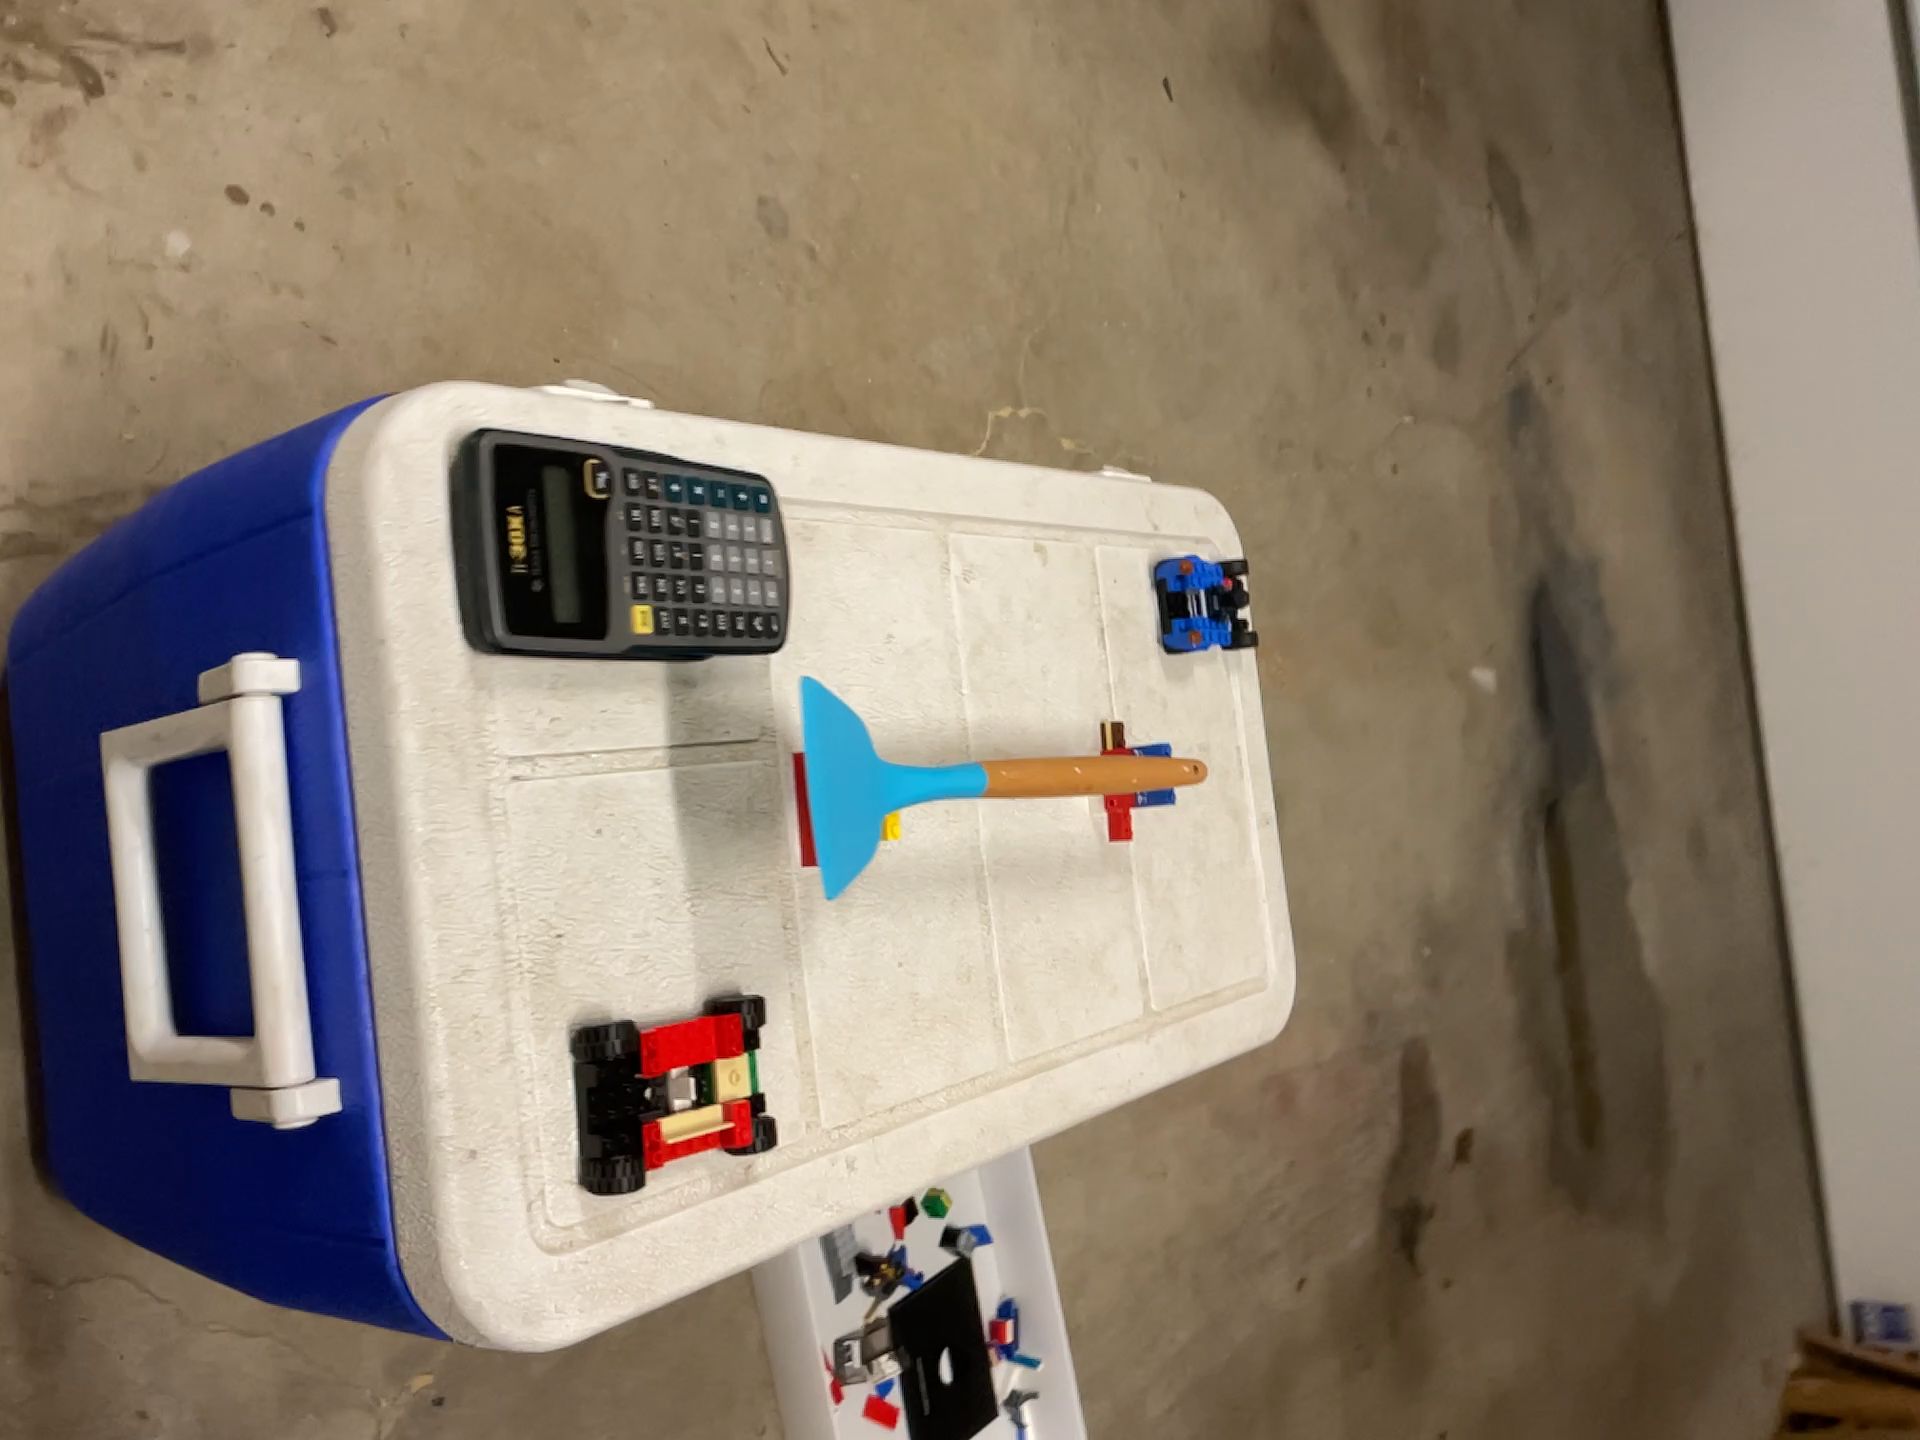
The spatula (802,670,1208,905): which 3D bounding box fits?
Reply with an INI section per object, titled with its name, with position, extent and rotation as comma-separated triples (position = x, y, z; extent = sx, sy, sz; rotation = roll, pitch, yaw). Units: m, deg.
[spatula]
position = 0.031, 0.026, 0.685
extent = 0.317, 0.044, 0.082
rotation = 0, 81, -51
